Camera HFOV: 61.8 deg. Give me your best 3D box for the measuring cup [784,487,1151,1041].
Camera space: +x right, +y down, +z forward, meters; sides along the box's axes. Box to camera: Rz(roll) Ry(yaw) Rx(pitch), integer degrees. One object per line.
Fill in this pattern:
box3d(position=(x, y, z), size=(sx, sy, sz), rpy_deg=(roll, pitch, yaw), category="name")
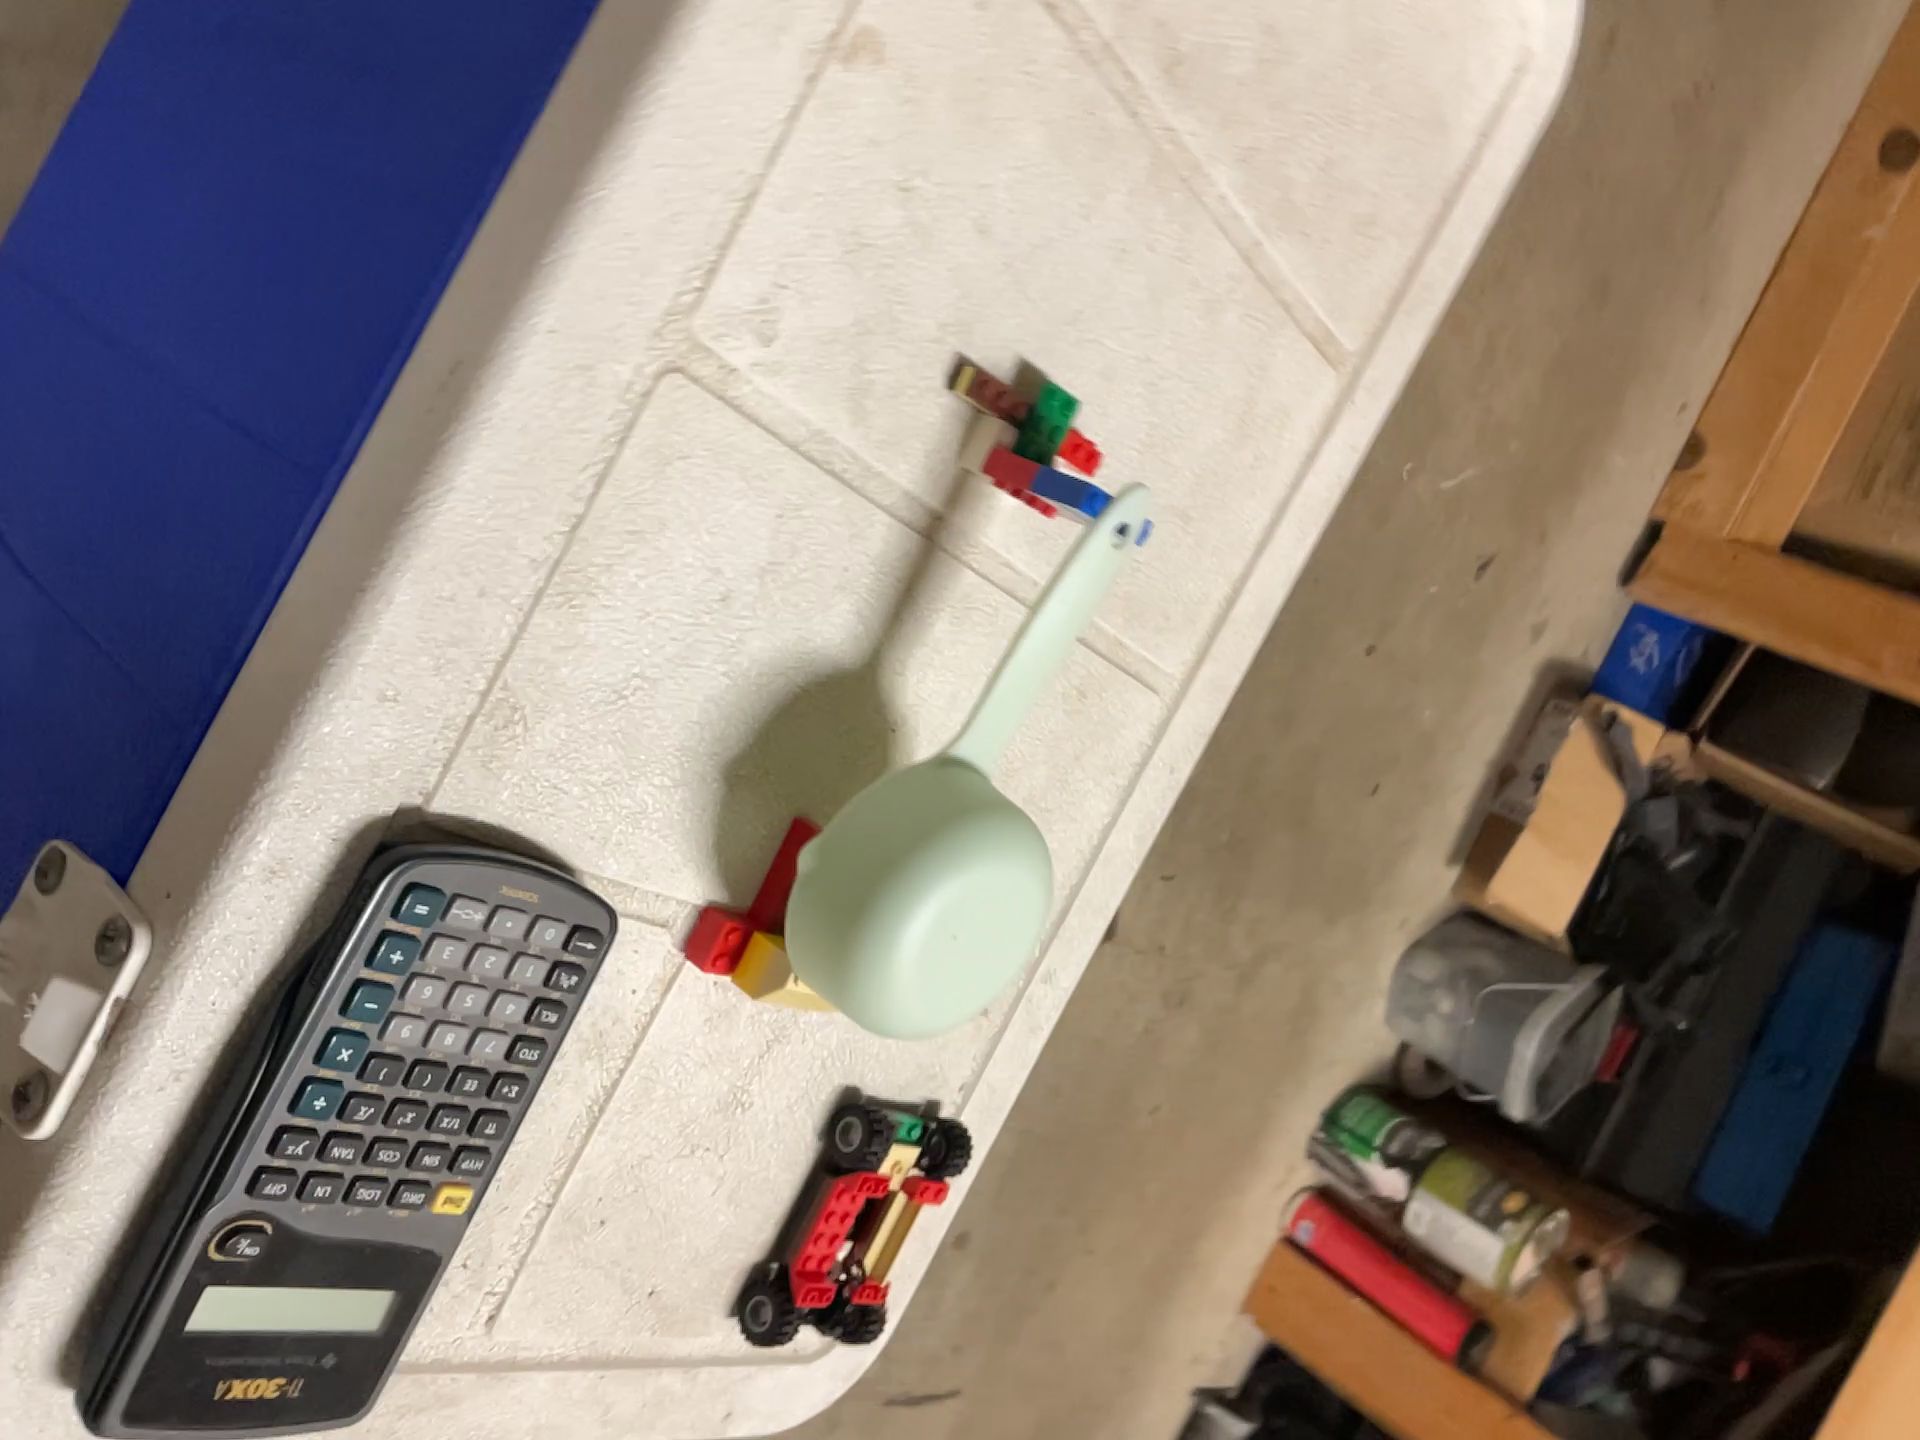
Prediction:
box3d(position=(0.016, 0.014, 0.439), size=(0.083, 0.038, 0.167), rpy_deg=(25, 99, -51), category="measuring cup")
